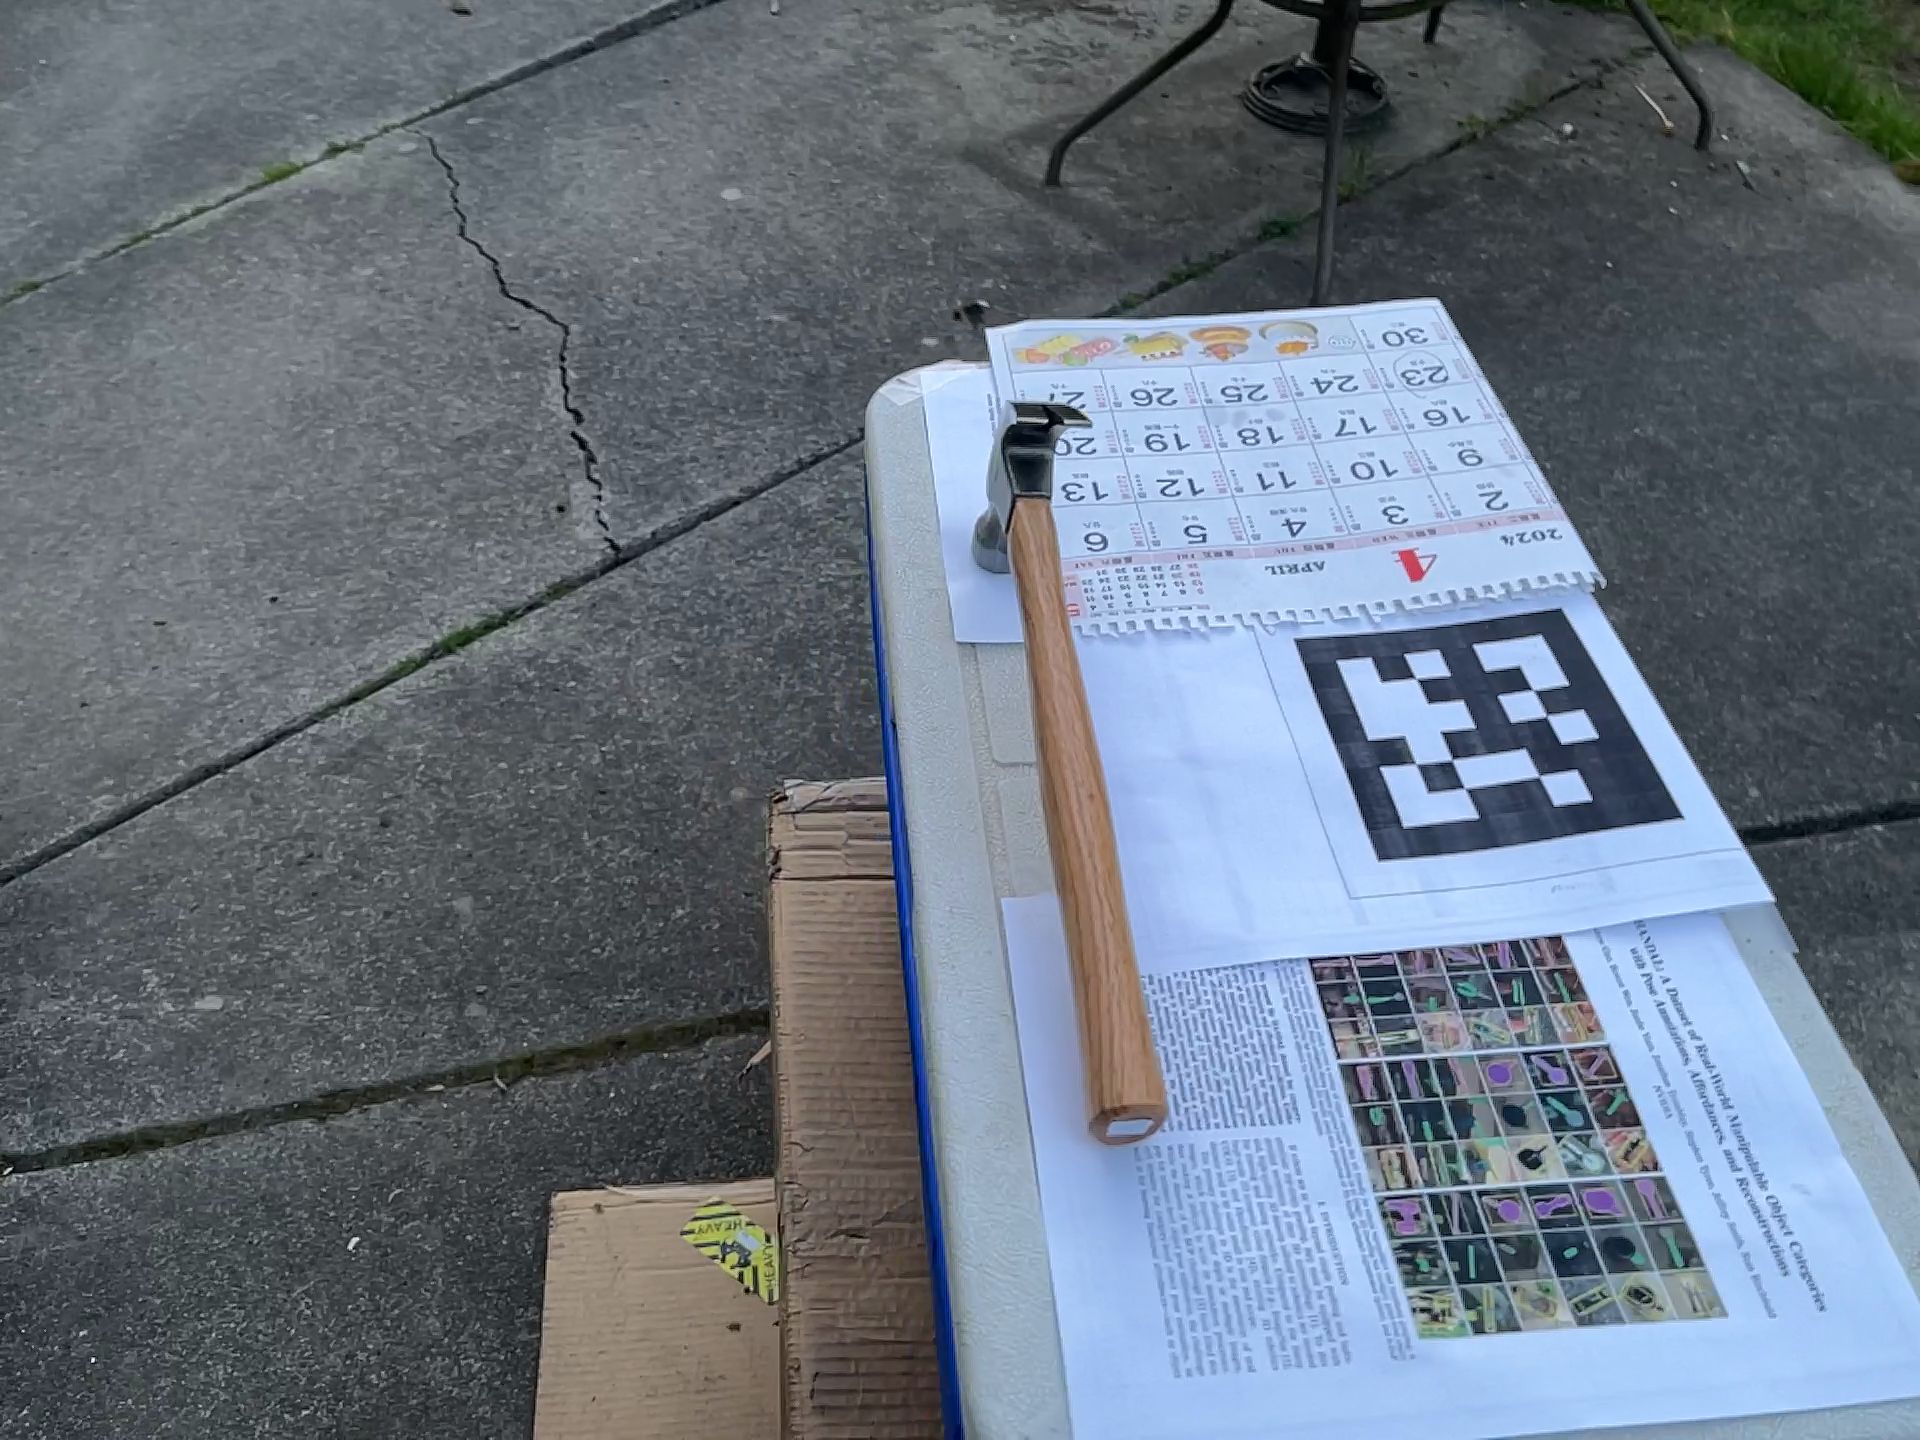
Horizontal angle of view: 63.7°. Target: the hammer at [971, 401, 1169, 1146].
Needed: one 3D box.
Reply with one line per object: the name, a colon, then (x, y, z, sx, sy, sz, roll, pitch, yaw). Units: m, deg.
hammer: (0.042, 0.003, 0.620, 0.031, 0.130, 0.331, -1, 55, -9)
